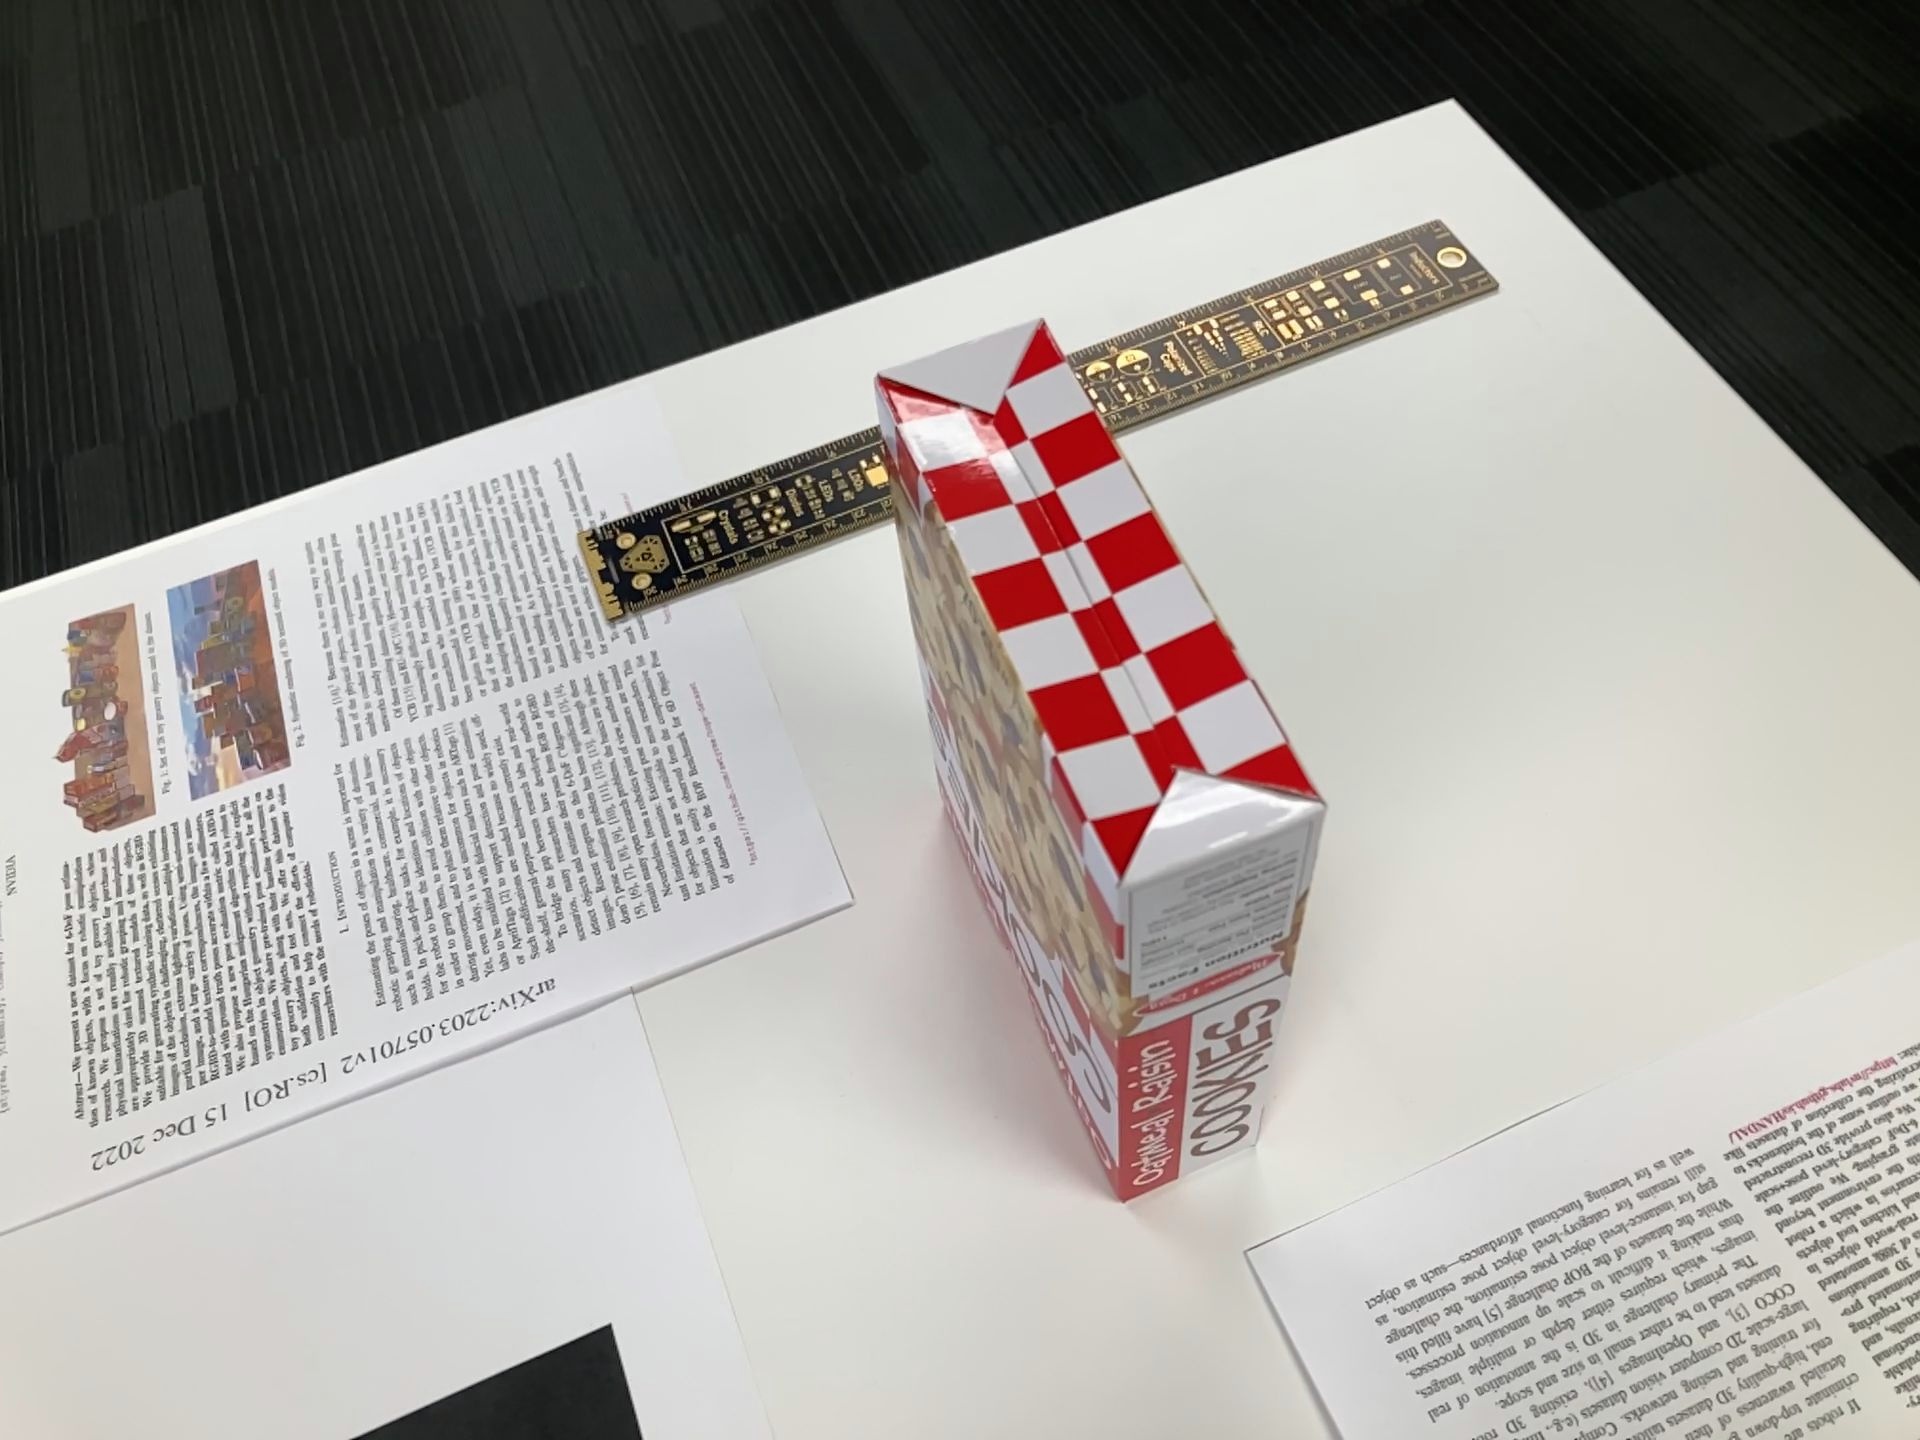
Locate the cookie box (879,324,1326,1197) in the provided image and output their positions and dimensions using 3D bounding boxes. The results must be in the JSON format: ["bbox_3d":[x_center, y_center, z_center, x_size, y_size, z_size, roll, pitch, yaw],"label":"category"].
[{"bbox_3d":[0.027,0.019,0.351,0.040,0.167,0.123,-20,58,-7],"label":"cookie box"}]
